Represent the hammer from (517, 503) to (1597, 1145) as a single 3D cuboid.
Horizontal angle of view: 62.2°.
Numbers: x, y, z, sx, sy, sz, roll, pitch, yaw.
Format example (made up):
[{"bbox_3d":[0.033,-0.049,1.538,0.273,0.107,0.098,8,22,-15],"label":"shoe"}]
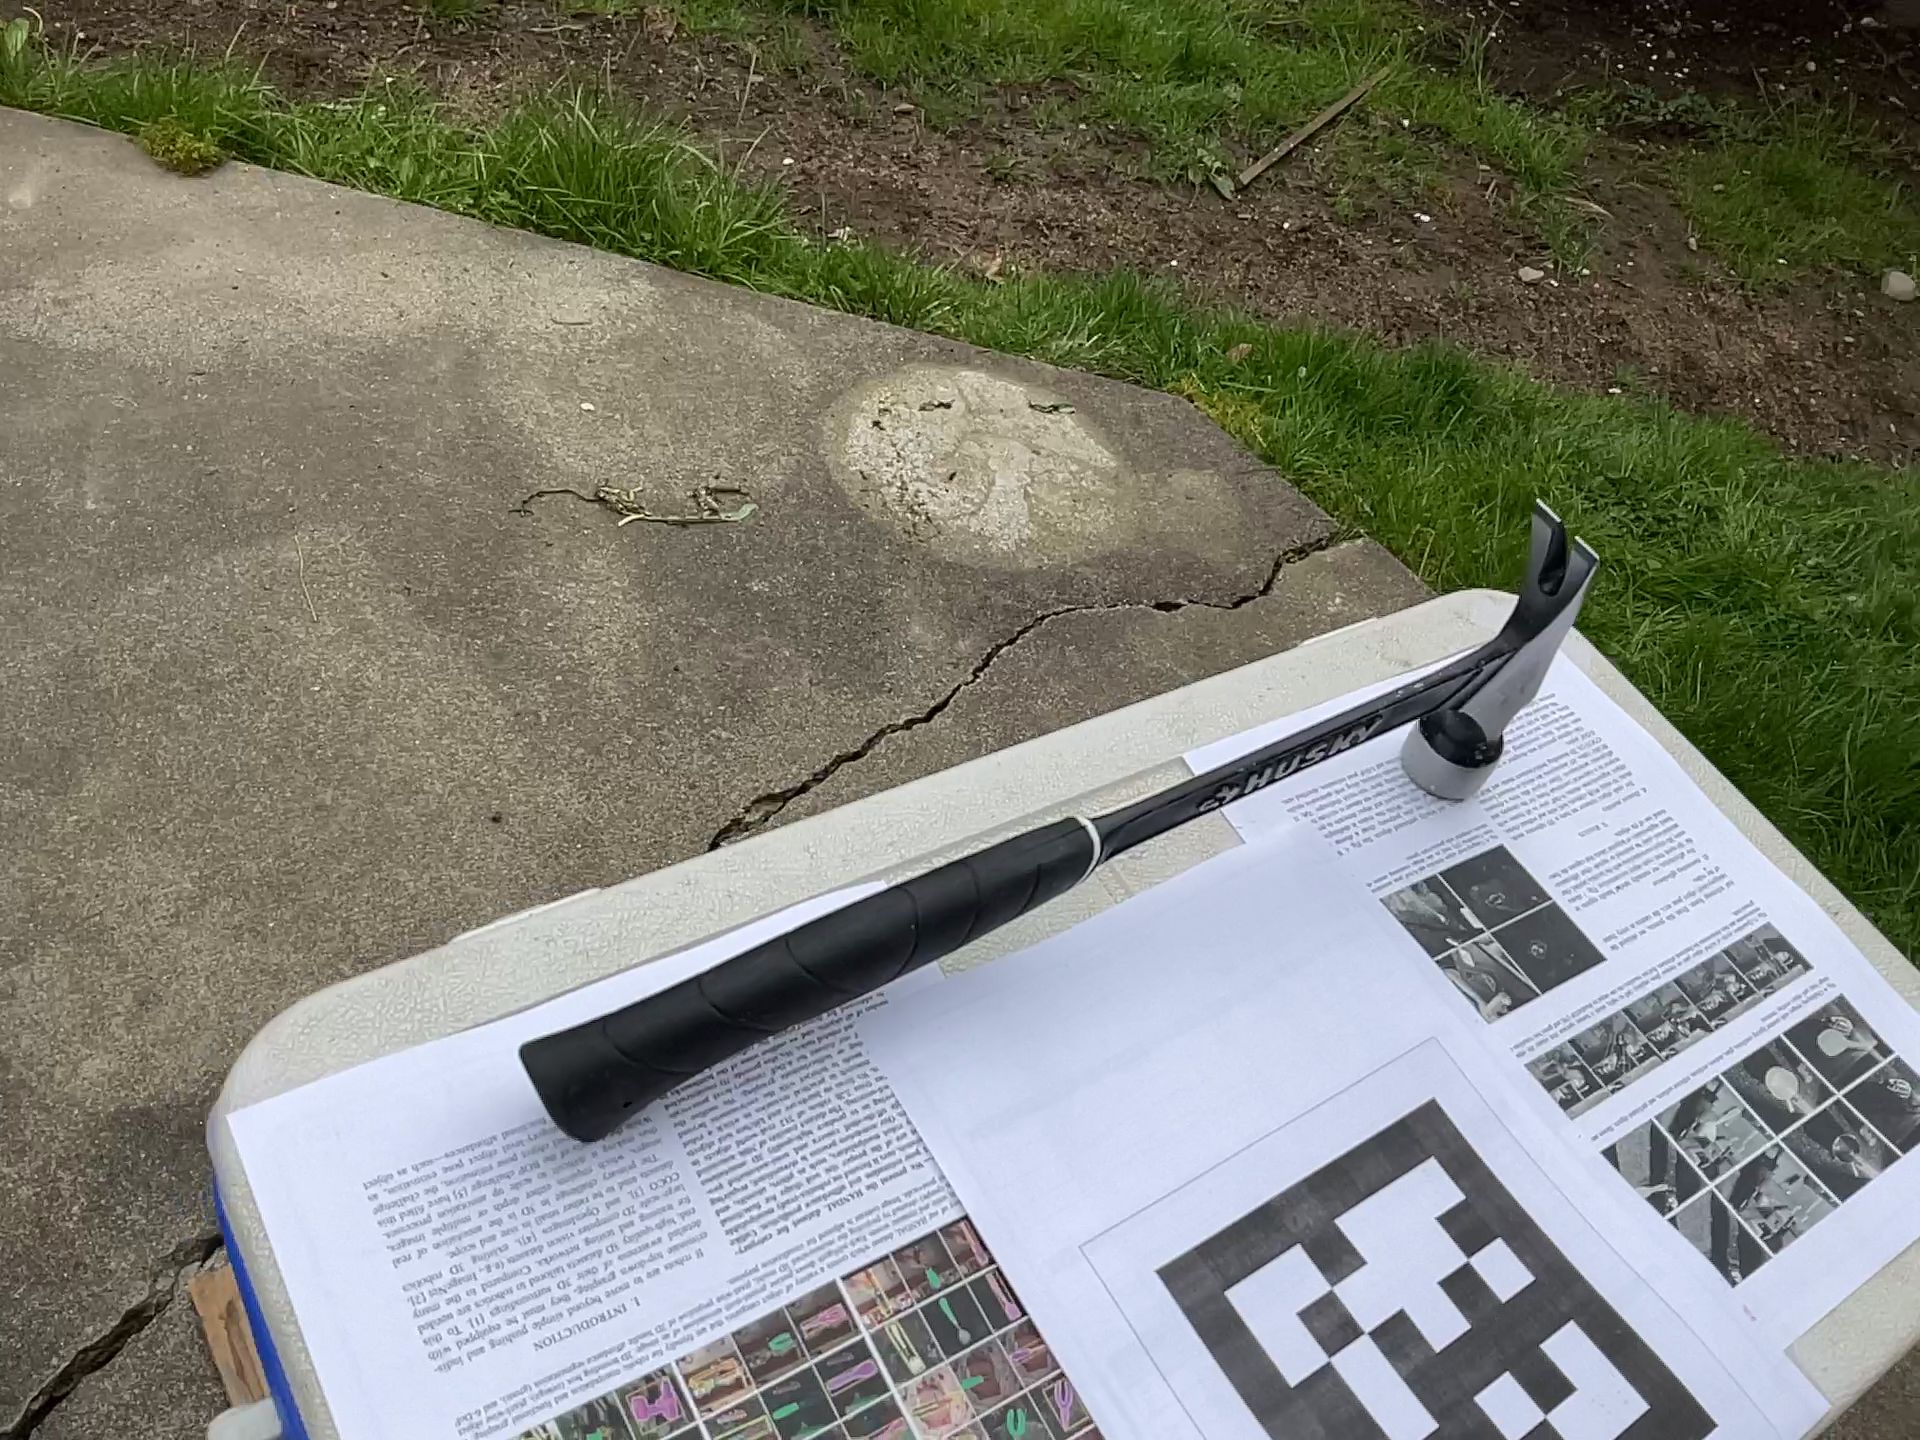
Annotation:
[{"bbox_3d":[0.052,0.038,0.531,0.408,0.149,0.036,-21,58,-25],"label":"hammer"}]
